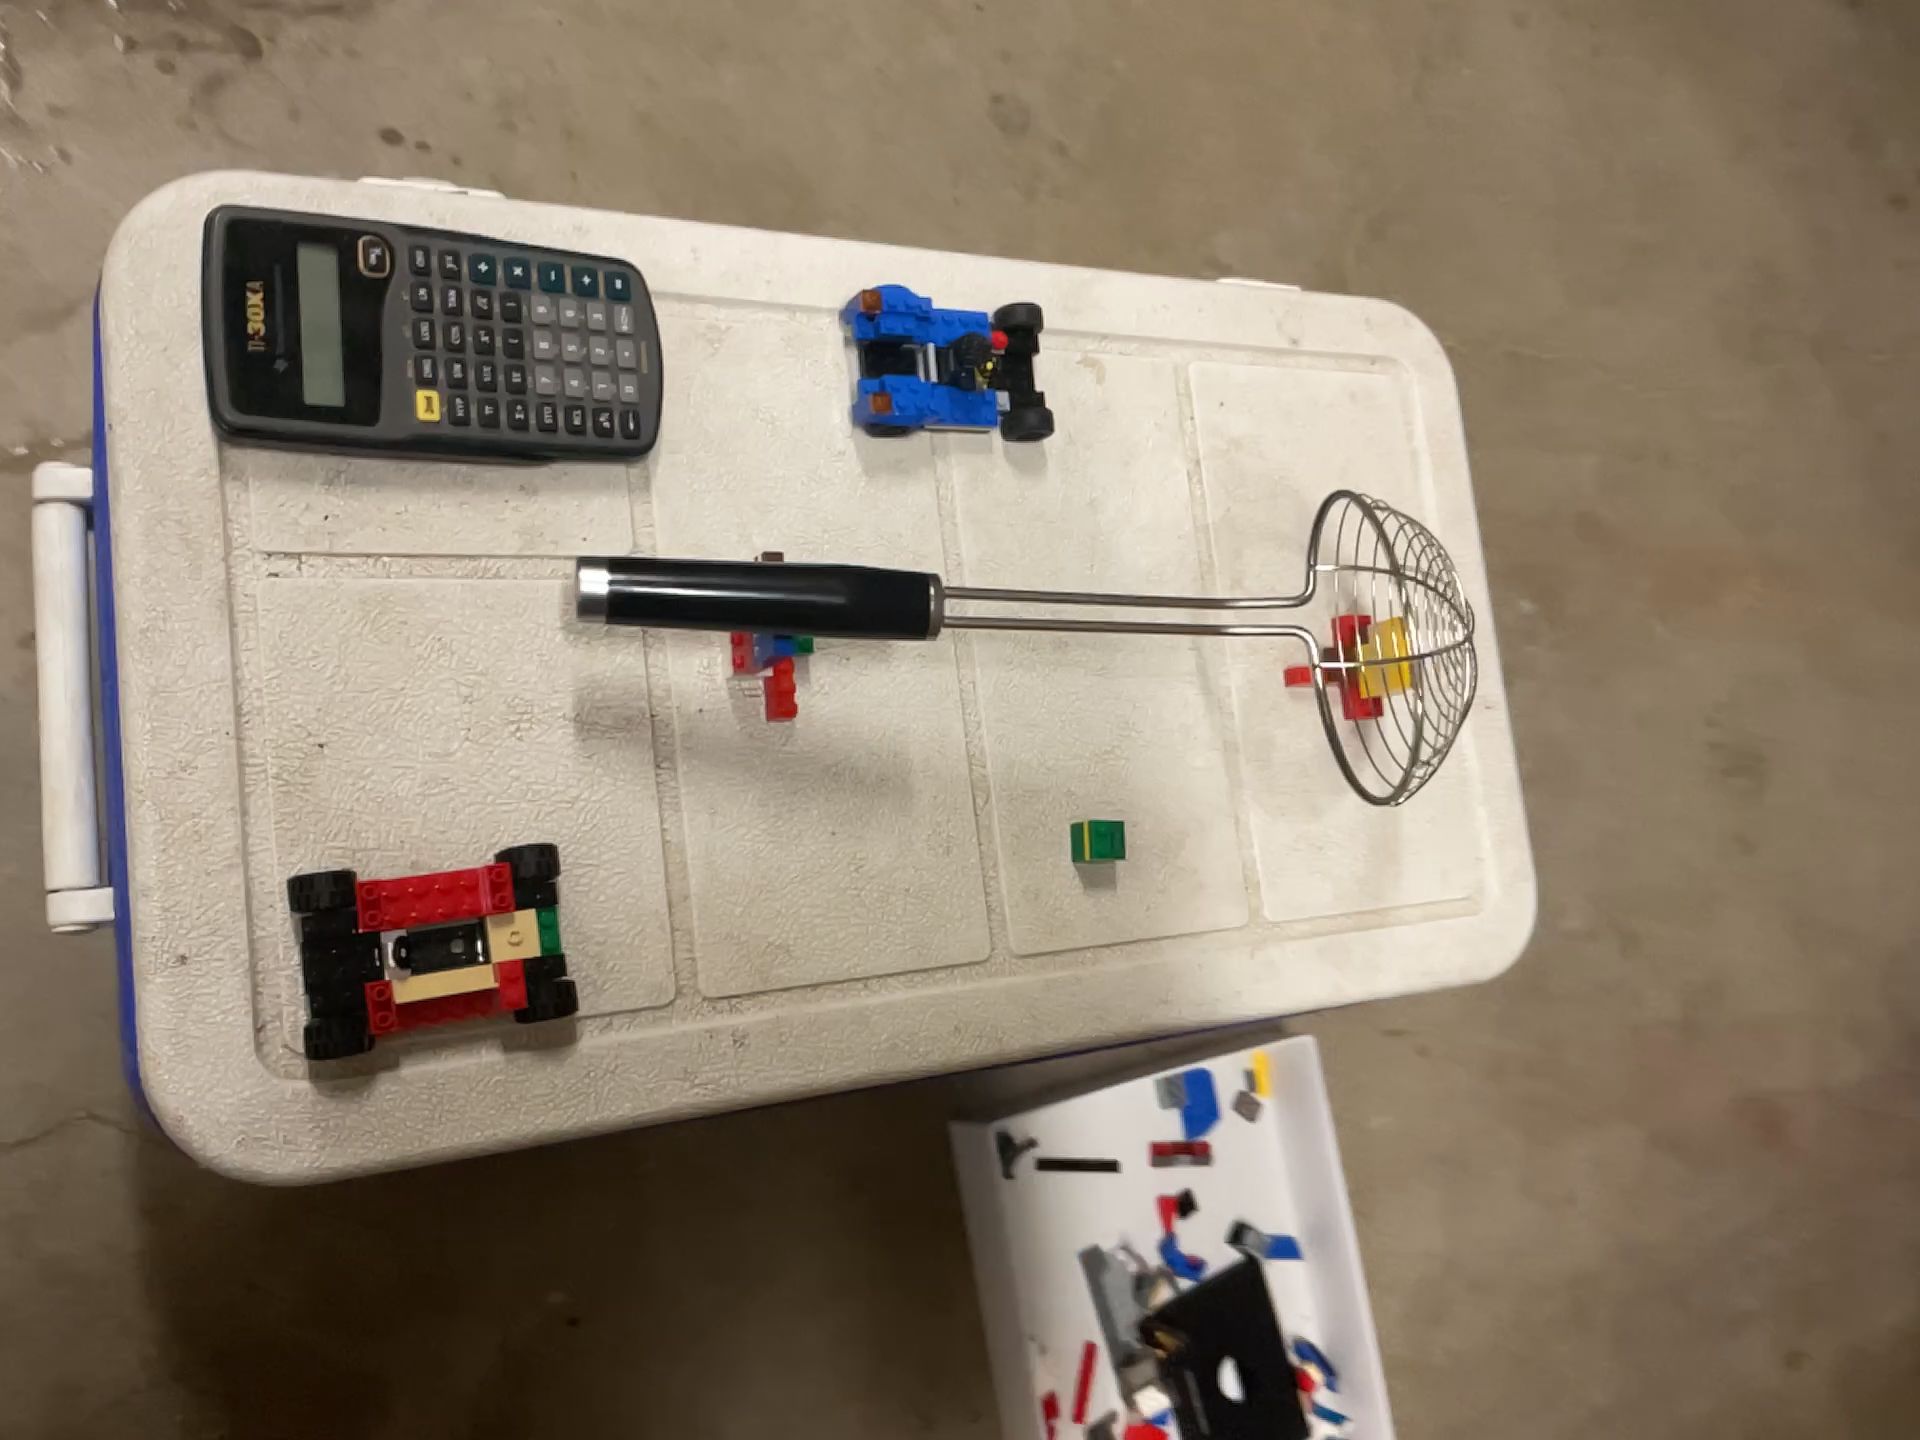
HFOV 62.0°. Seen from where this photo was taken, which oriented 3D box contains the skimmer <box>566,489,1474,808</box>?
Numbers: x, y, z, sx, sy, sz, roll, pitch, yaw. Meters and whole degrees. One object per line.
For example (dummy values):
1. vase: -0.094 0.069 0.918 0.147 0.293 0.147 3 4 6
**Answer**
1. skimmer: 0.038 -0.032 0.597 0.363 0.090 0.127 1 80 -17
